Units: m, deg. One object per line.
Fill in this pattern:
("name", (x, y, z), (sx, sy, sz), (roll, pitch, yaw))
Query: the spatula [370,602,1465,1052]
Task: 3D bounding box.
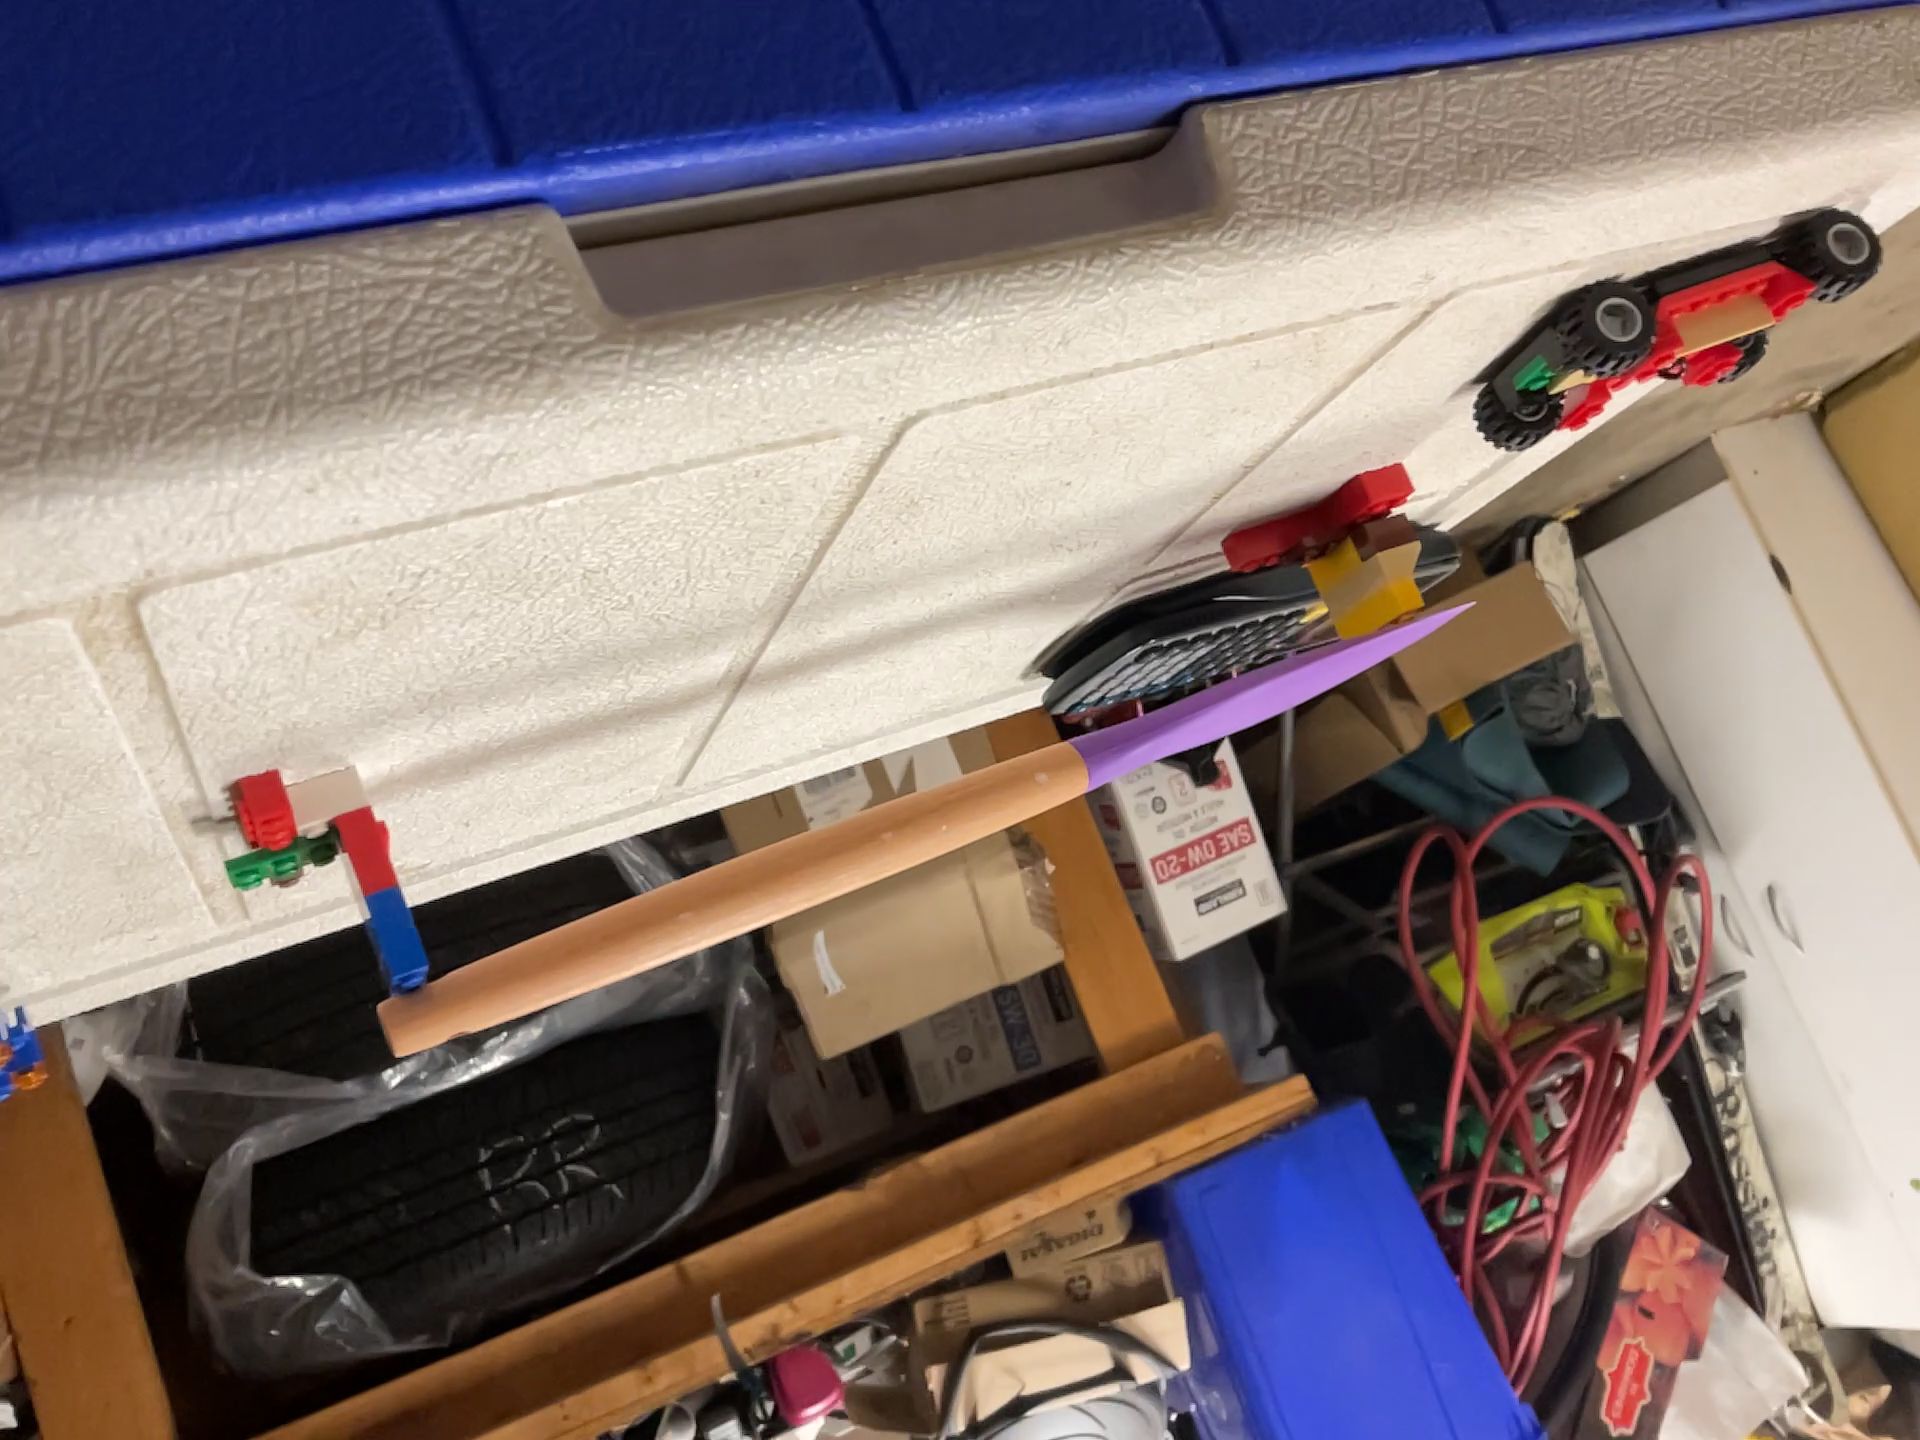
("spatula", (0.005, 0.021, 0.422), (0.316, 0.018, 0.059), (-19, 169, -24))
